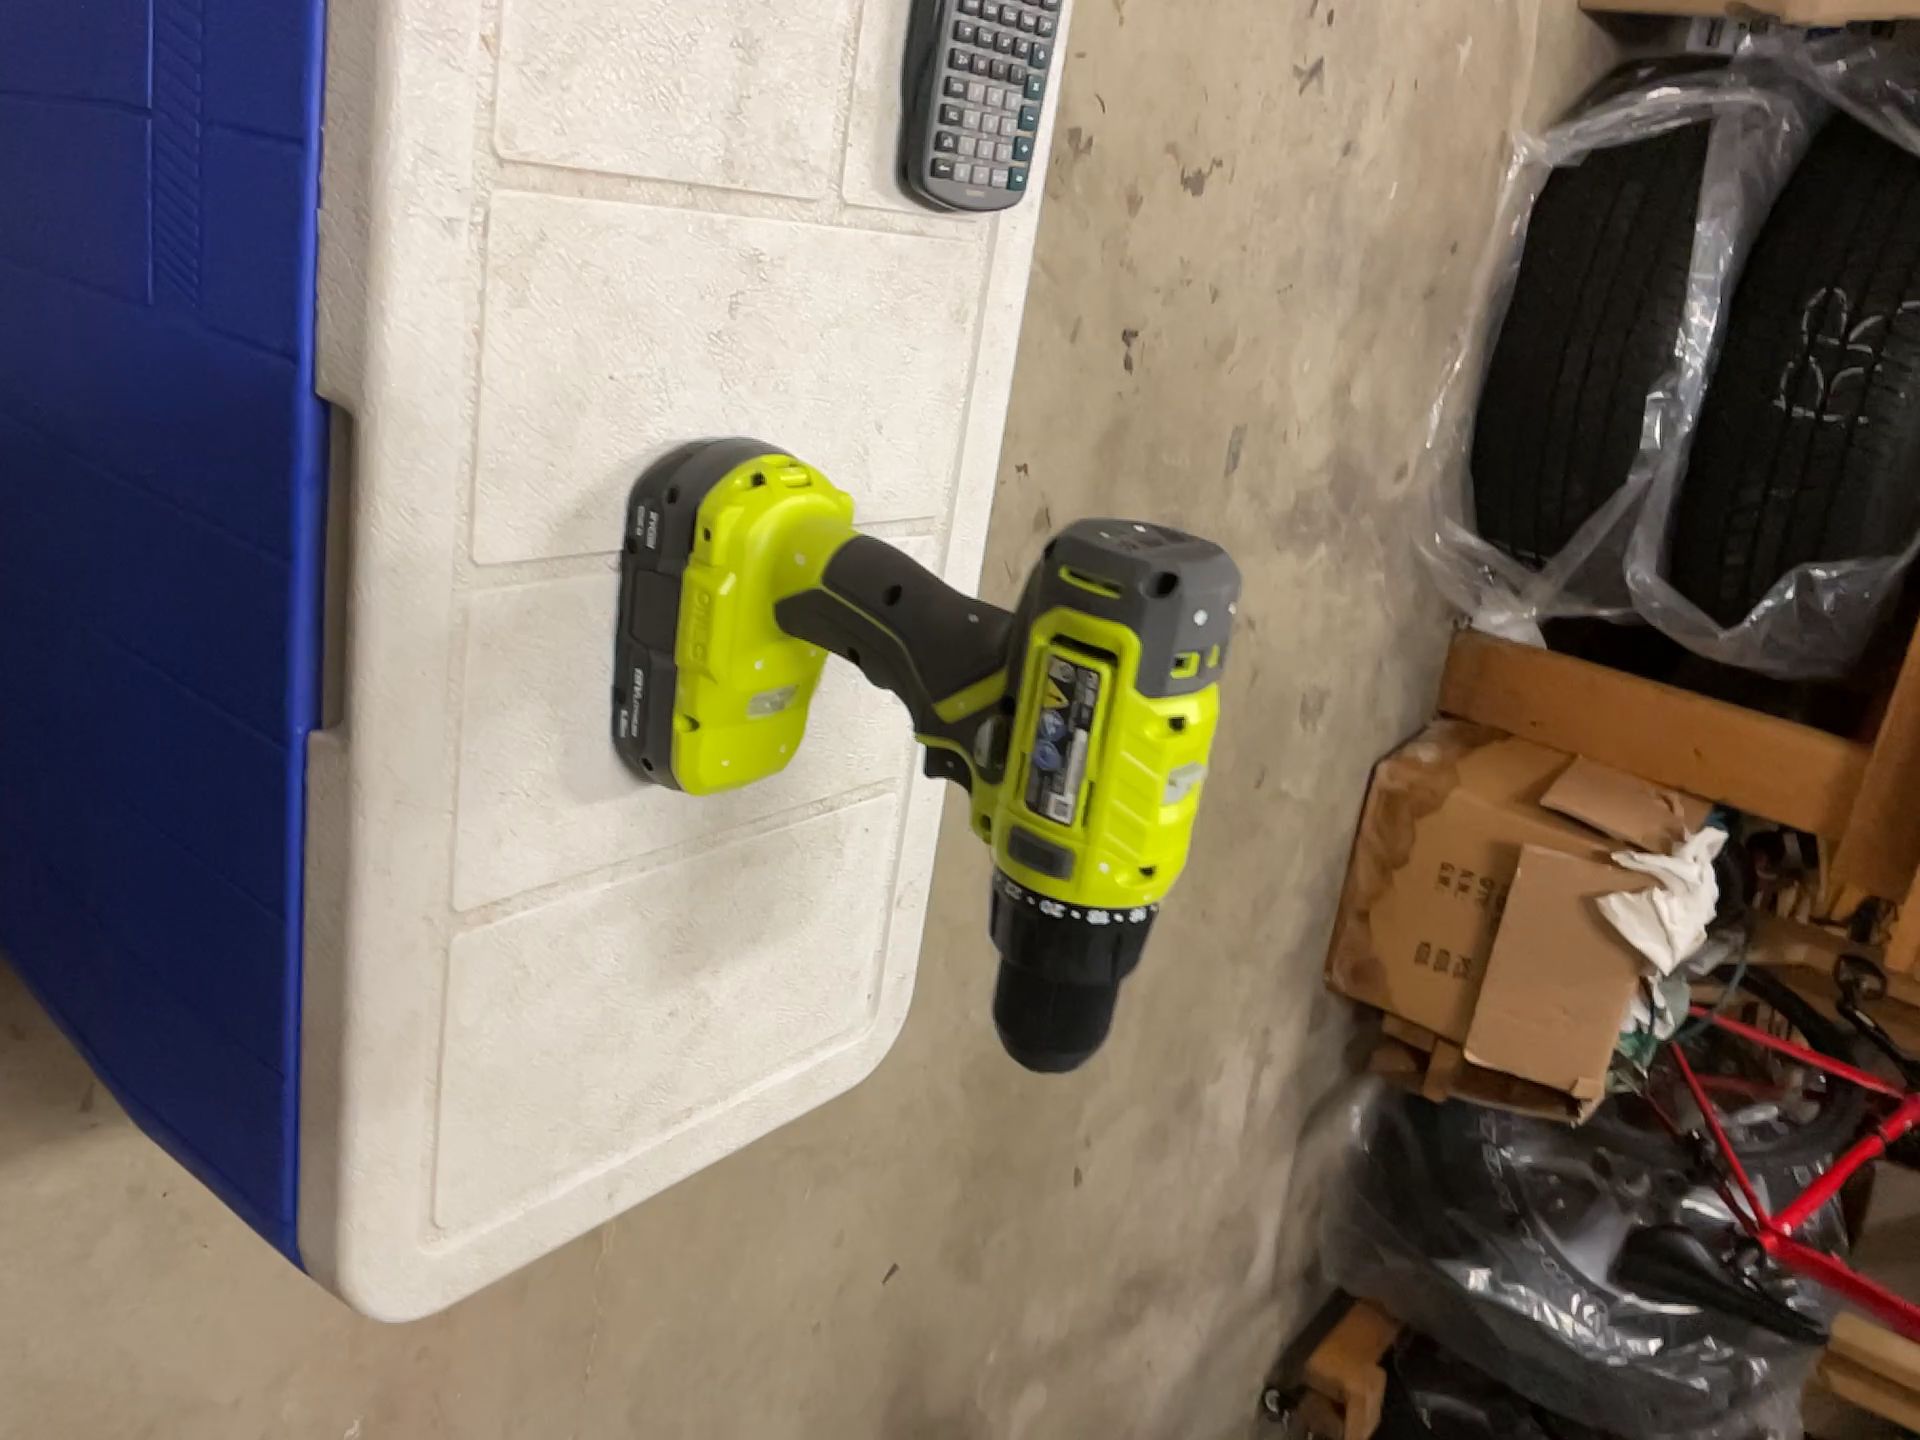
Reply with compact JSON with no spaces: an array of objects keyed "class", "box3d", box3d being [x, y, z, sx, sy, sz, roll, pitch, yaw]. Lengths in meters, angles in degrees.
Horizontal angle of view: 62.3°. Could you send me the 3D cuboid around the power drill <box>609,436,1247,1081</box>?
[{"class":"power drill","box3d":[-0.019,0.005,0.566,0.080,0.228,0.190,-17,123,-51]}]
